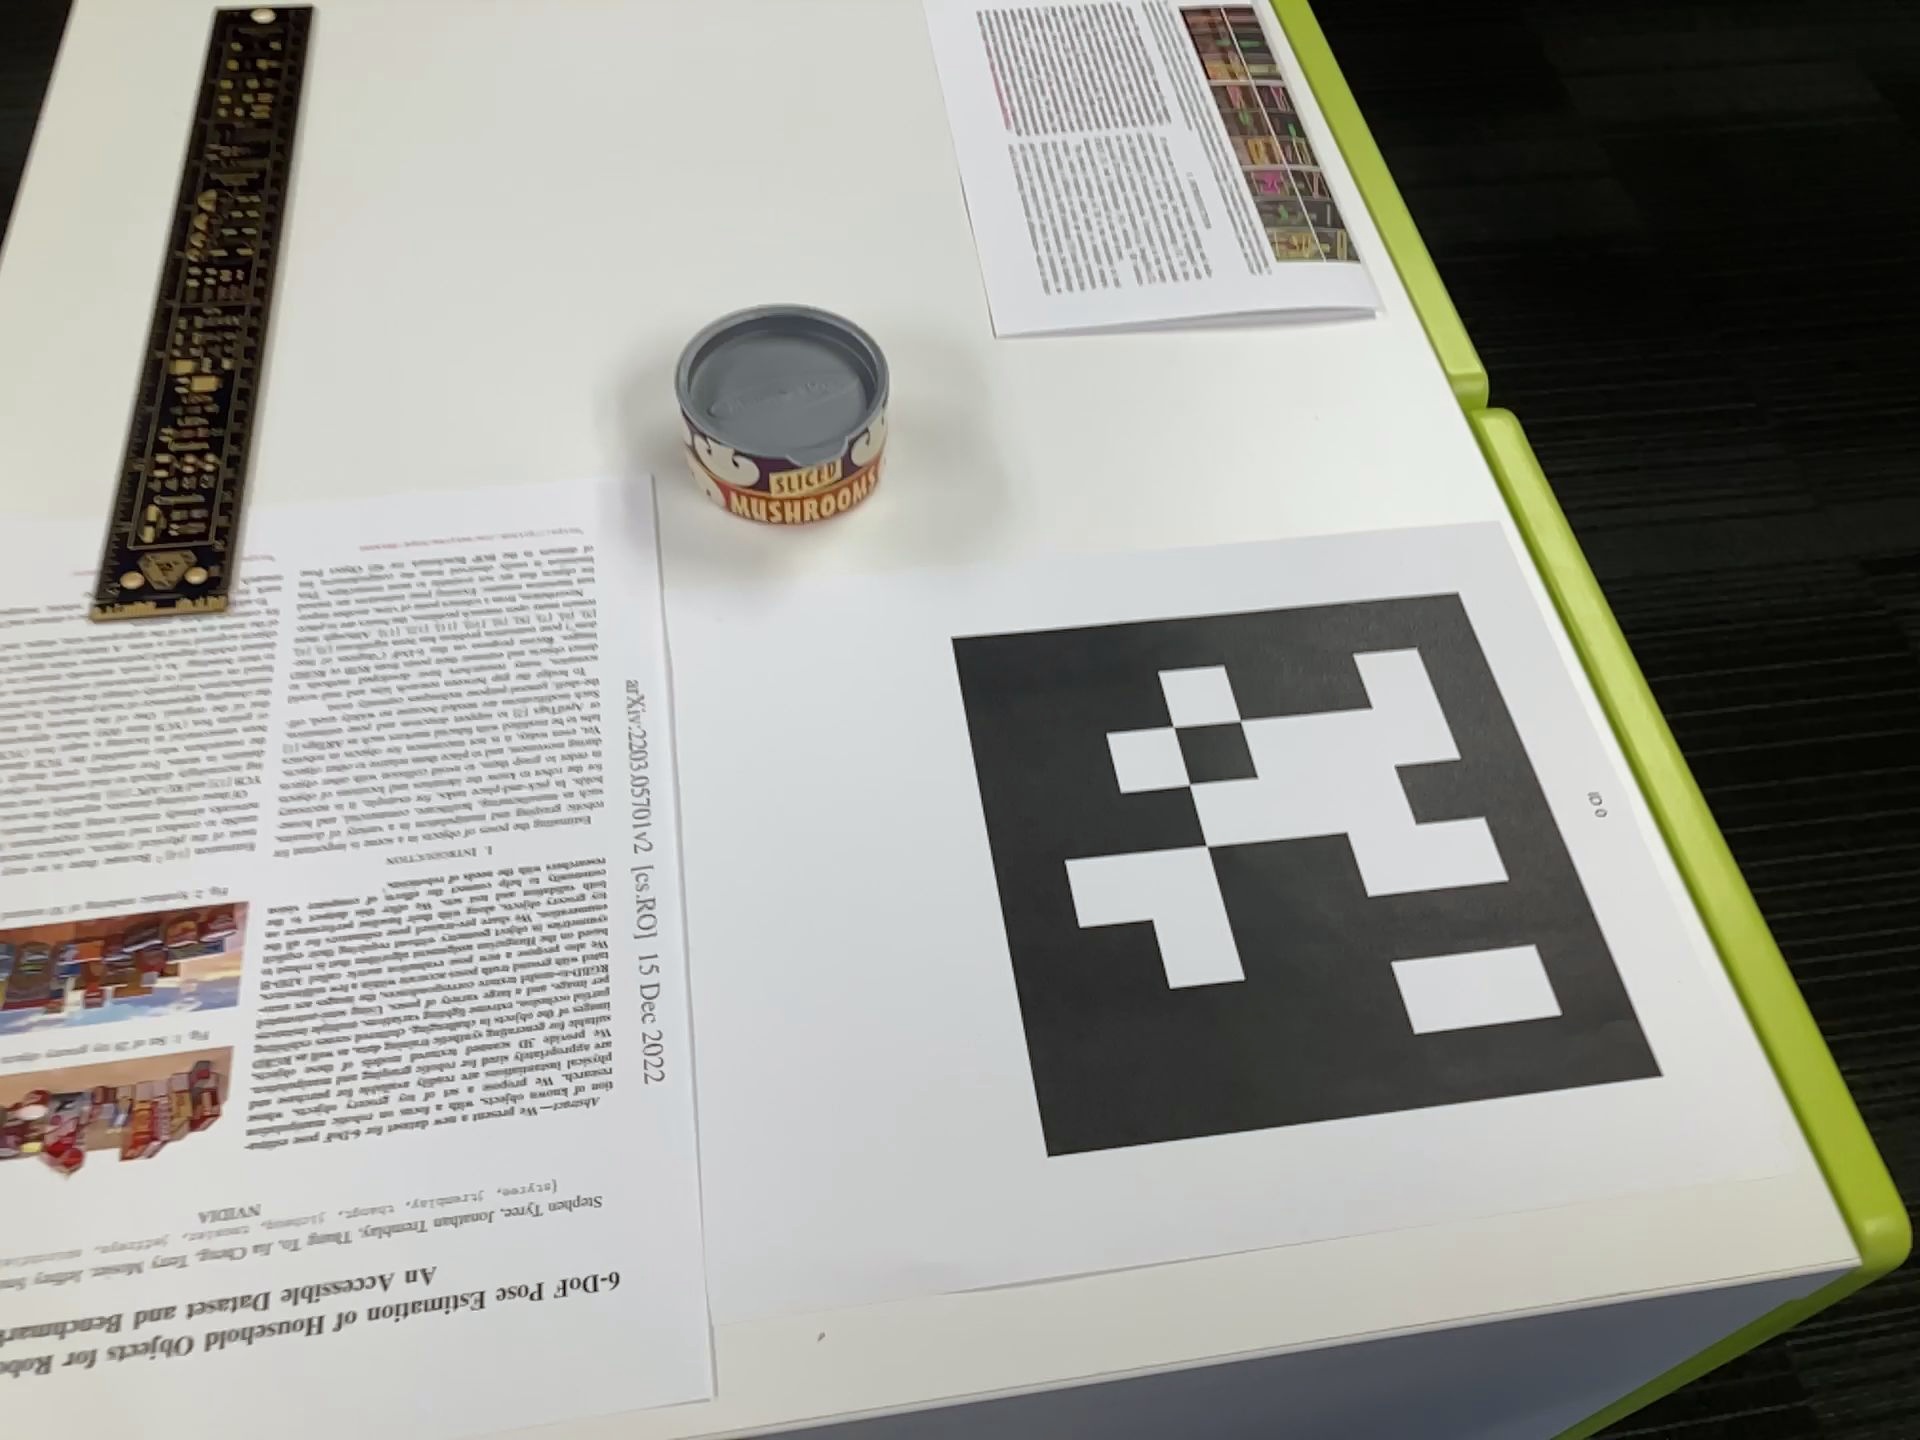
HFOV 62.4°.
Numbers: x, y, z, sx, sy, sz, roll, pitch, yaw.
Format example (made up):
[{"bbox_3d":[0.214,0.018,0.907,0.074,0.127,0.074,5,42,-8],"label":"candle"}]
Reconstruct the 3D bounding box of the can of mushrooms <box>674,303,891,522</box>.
[{"bbox_3d":[-0.055,-0.095,0.499,0.071,0.033,0.071,2,55,-3],"label":"can of mushrooms"}]
